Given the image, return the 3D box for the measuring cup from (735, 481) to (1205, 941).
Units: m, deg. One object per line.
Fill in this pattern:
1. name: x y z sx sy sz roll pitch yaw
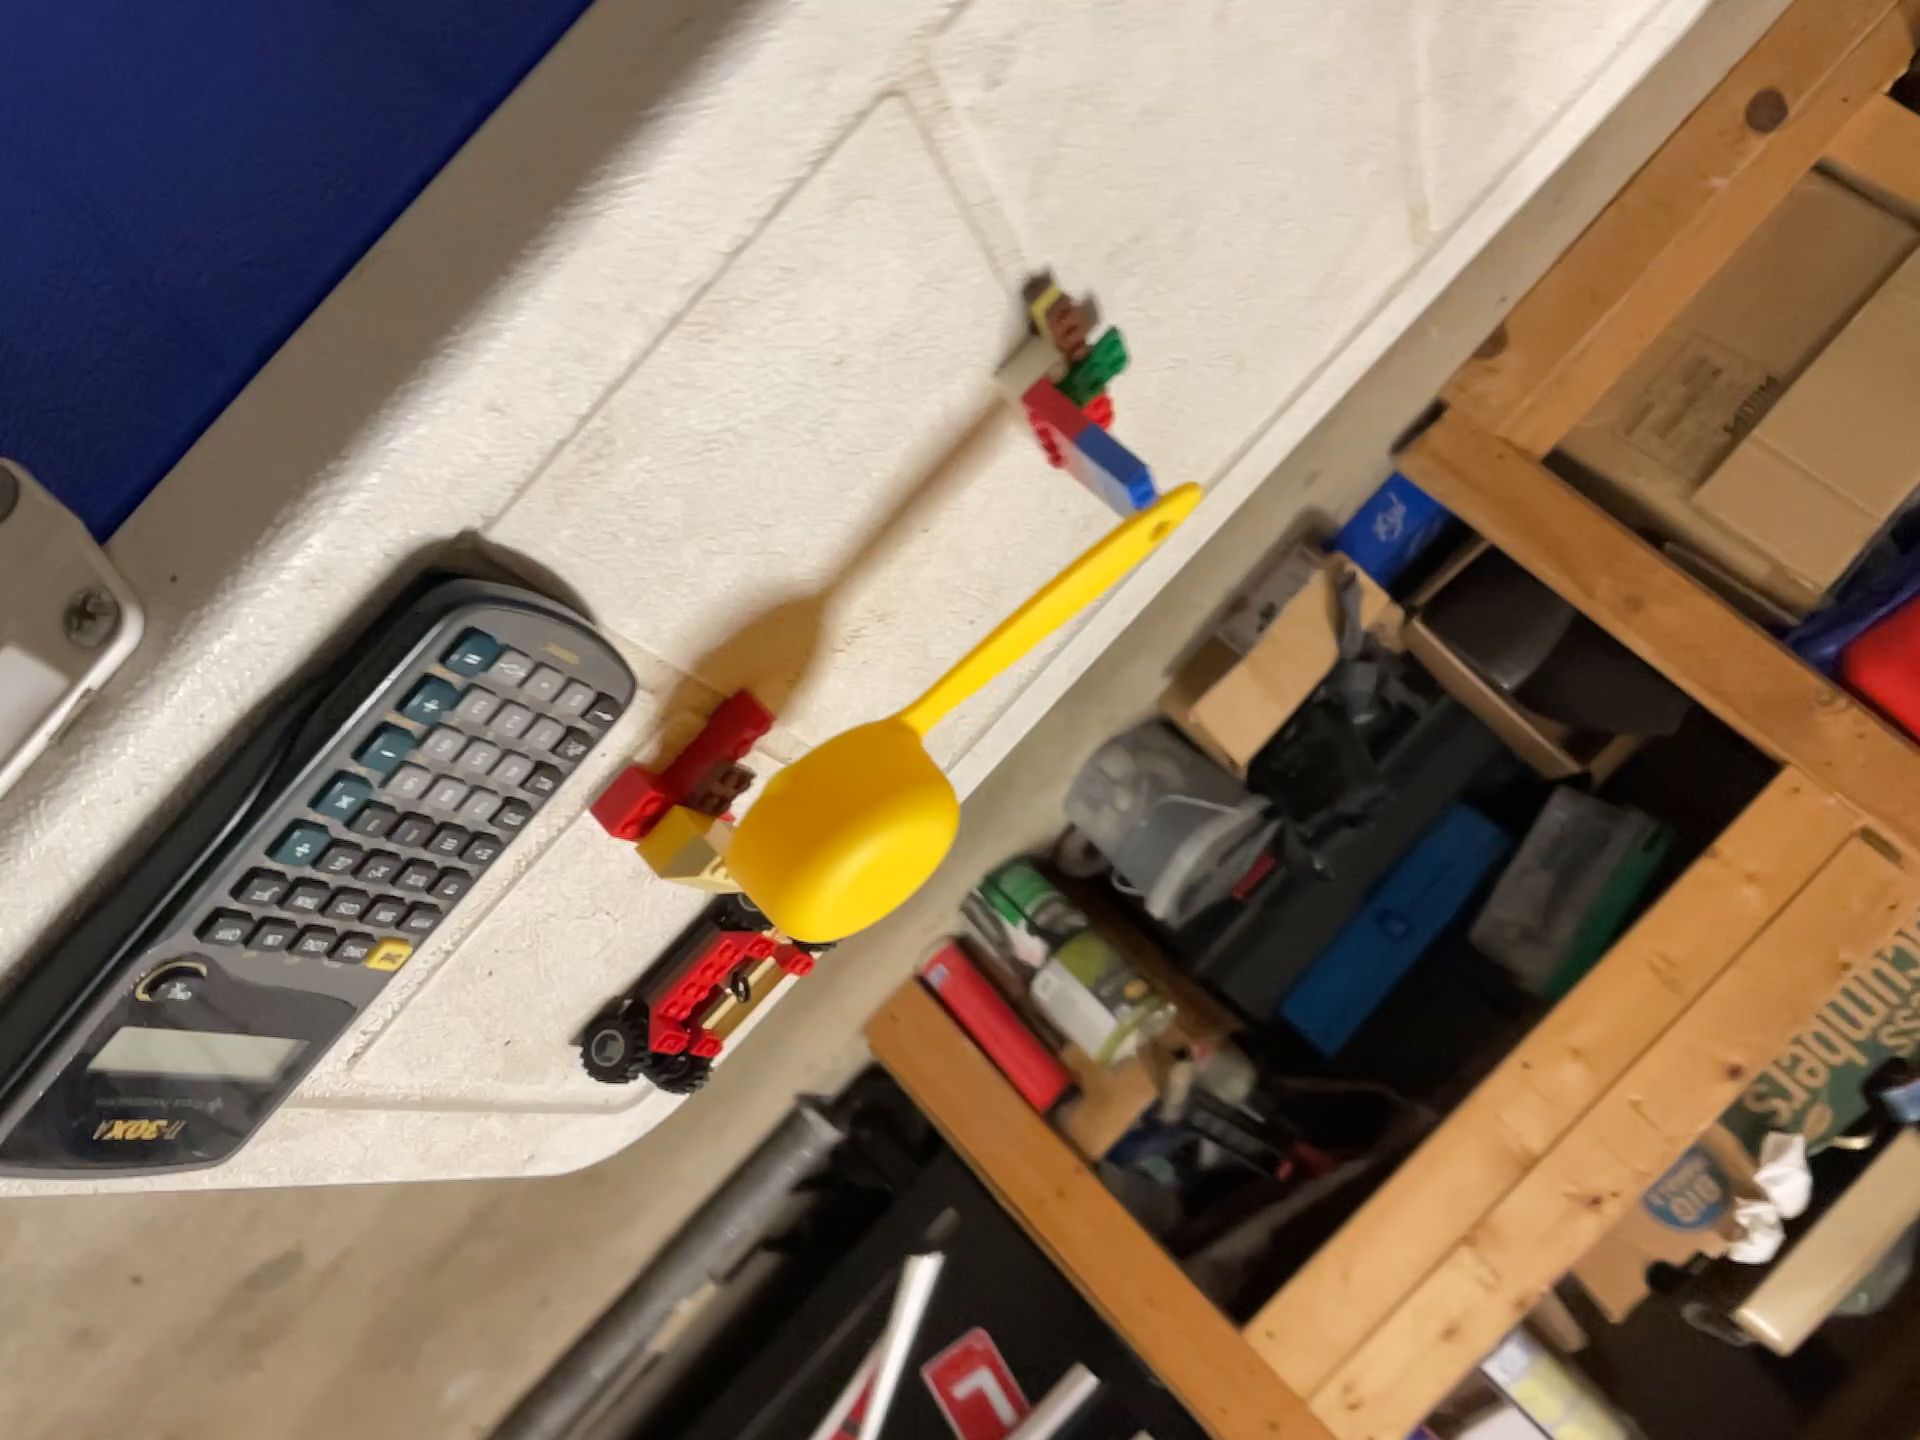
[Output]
1. measuring cup: 0.010 -0.001 0.409 0.156 0.029 0.062 -41 158 3
